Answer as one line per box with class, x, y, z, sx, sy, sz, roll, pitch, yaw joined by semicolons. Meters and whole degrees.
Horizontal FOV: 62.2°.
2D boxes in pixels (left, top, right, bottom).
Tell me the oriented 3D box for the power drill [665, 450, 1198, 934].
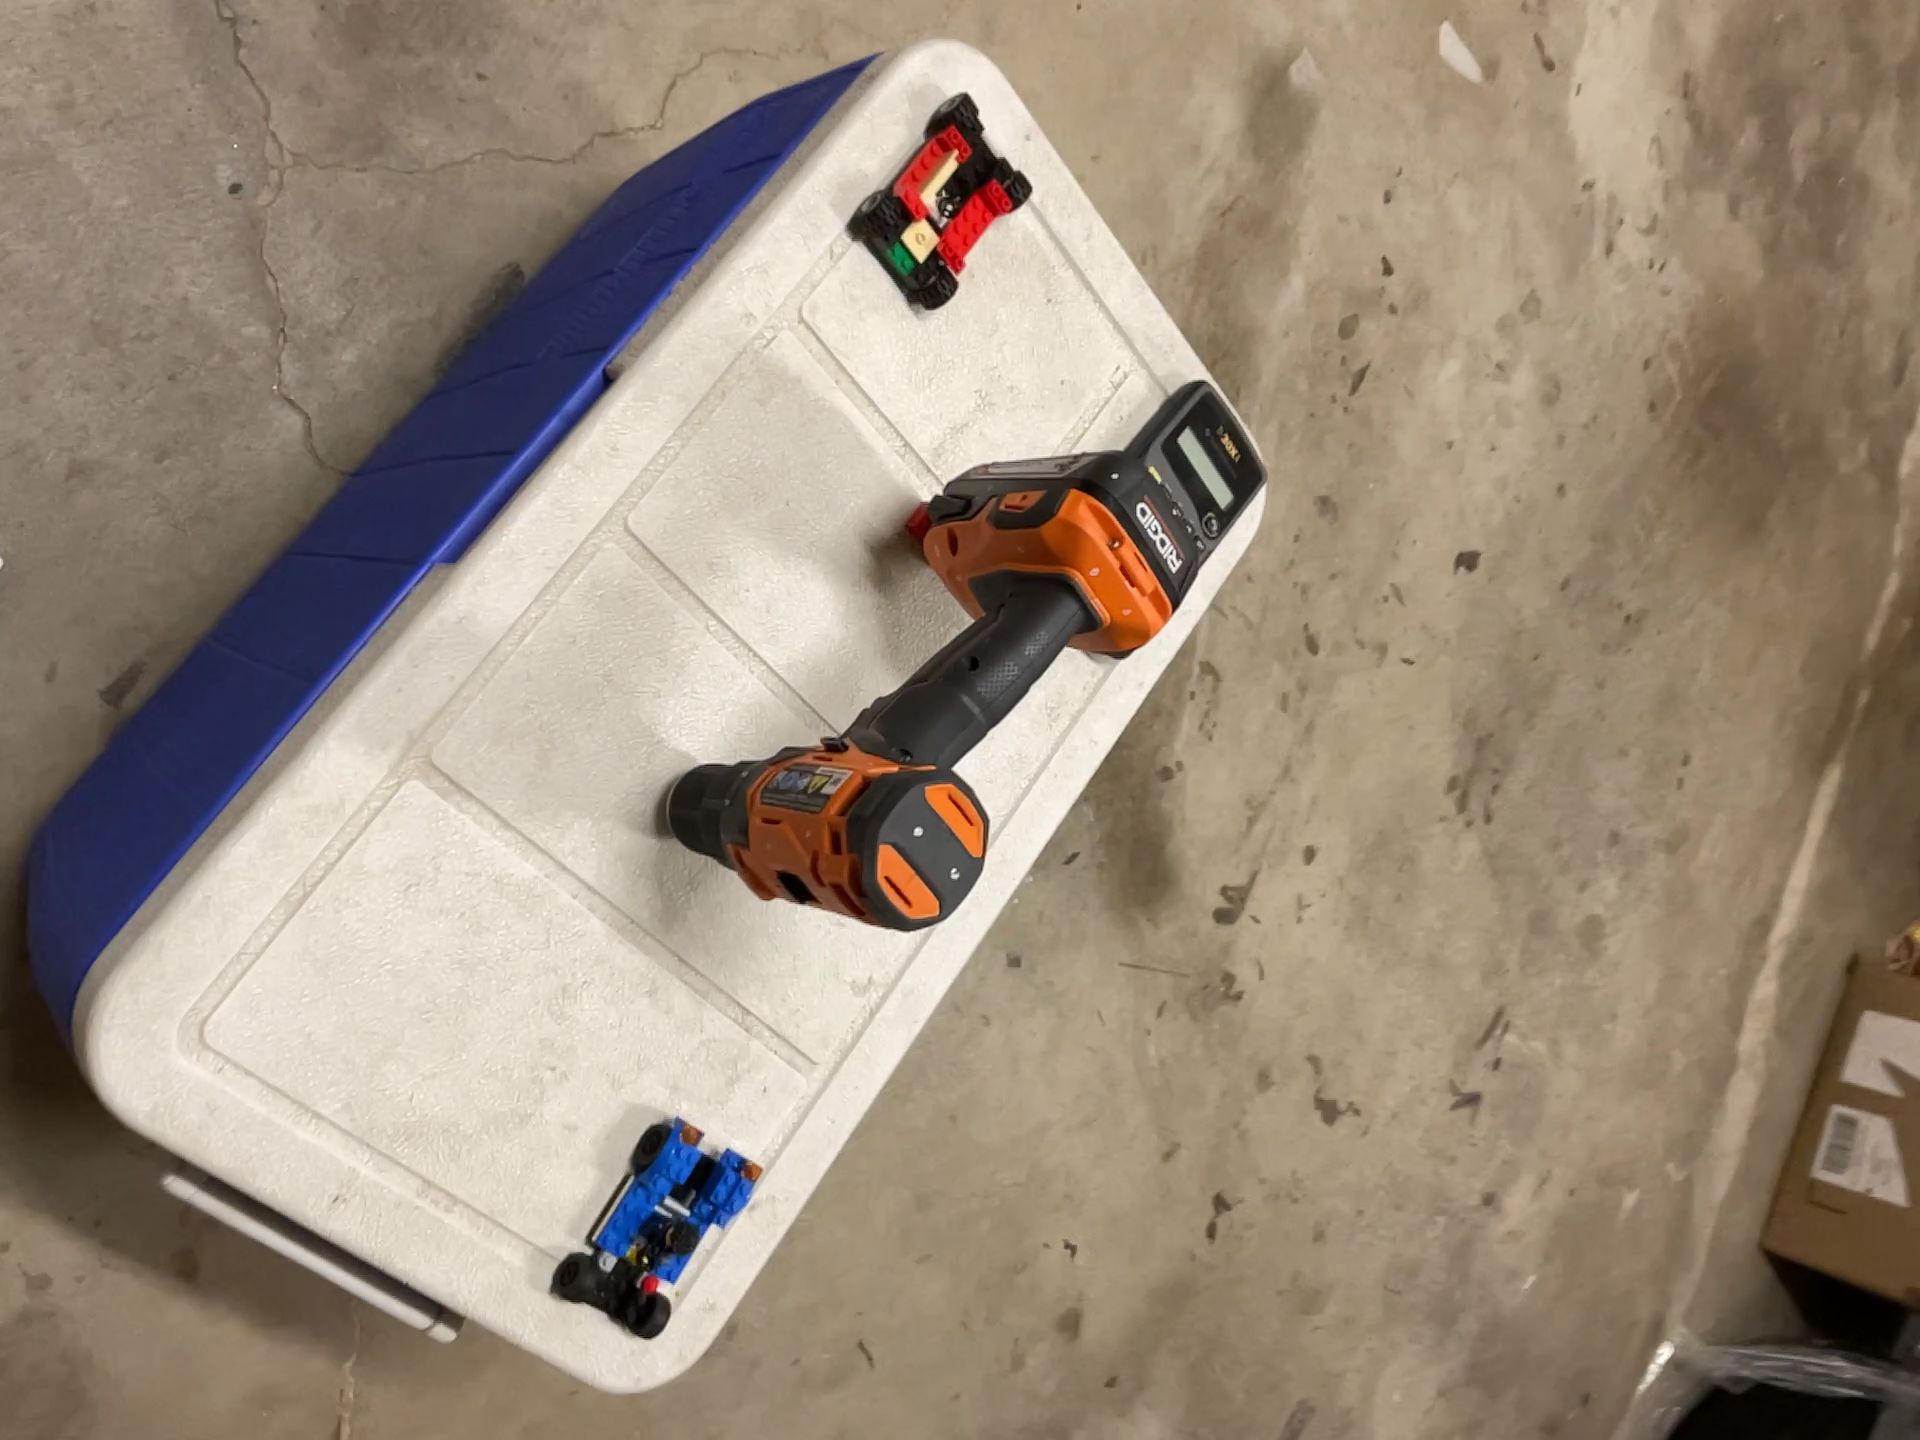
power drill;-0.021;-0.013;0.693;0.226;0.185;0.084;-52;121;-24
